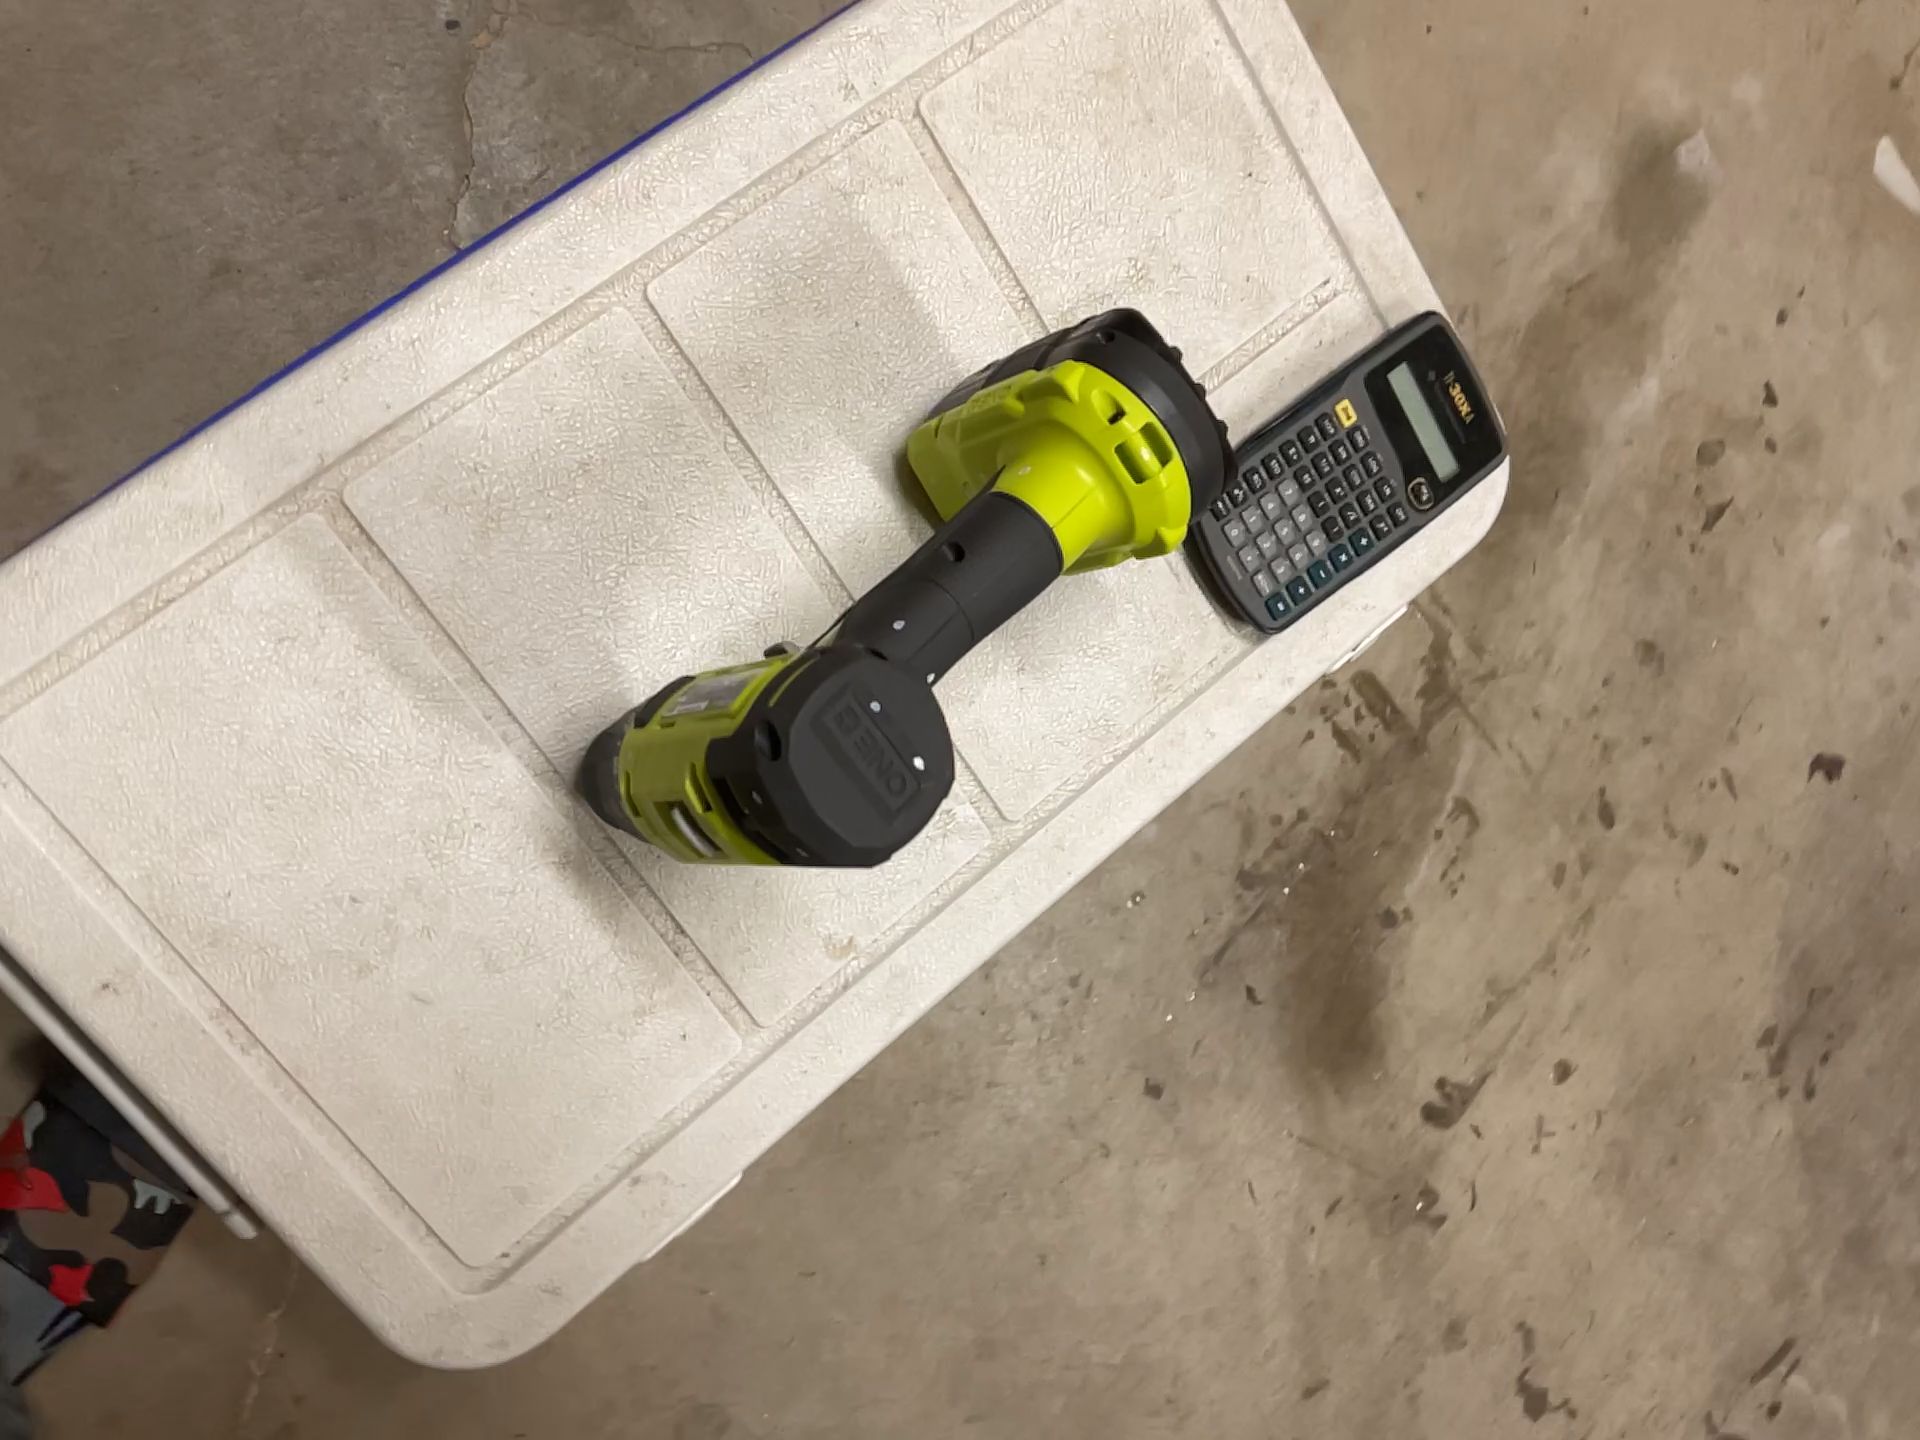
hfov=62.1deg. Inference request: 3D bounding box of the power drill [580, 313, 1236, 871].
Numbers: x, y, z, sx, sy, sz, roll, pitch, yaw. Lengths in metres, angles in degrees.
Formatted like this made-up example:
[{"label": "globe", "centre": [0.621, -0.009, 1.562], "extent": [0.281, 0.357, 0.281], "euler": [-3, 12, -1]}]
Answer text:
[{"label": "power drill", "centre": [-0.027, -0.036, 0.559], "extent": [0.229, 0.190, 0.080], "euler": [-46, 111, -27]}]
